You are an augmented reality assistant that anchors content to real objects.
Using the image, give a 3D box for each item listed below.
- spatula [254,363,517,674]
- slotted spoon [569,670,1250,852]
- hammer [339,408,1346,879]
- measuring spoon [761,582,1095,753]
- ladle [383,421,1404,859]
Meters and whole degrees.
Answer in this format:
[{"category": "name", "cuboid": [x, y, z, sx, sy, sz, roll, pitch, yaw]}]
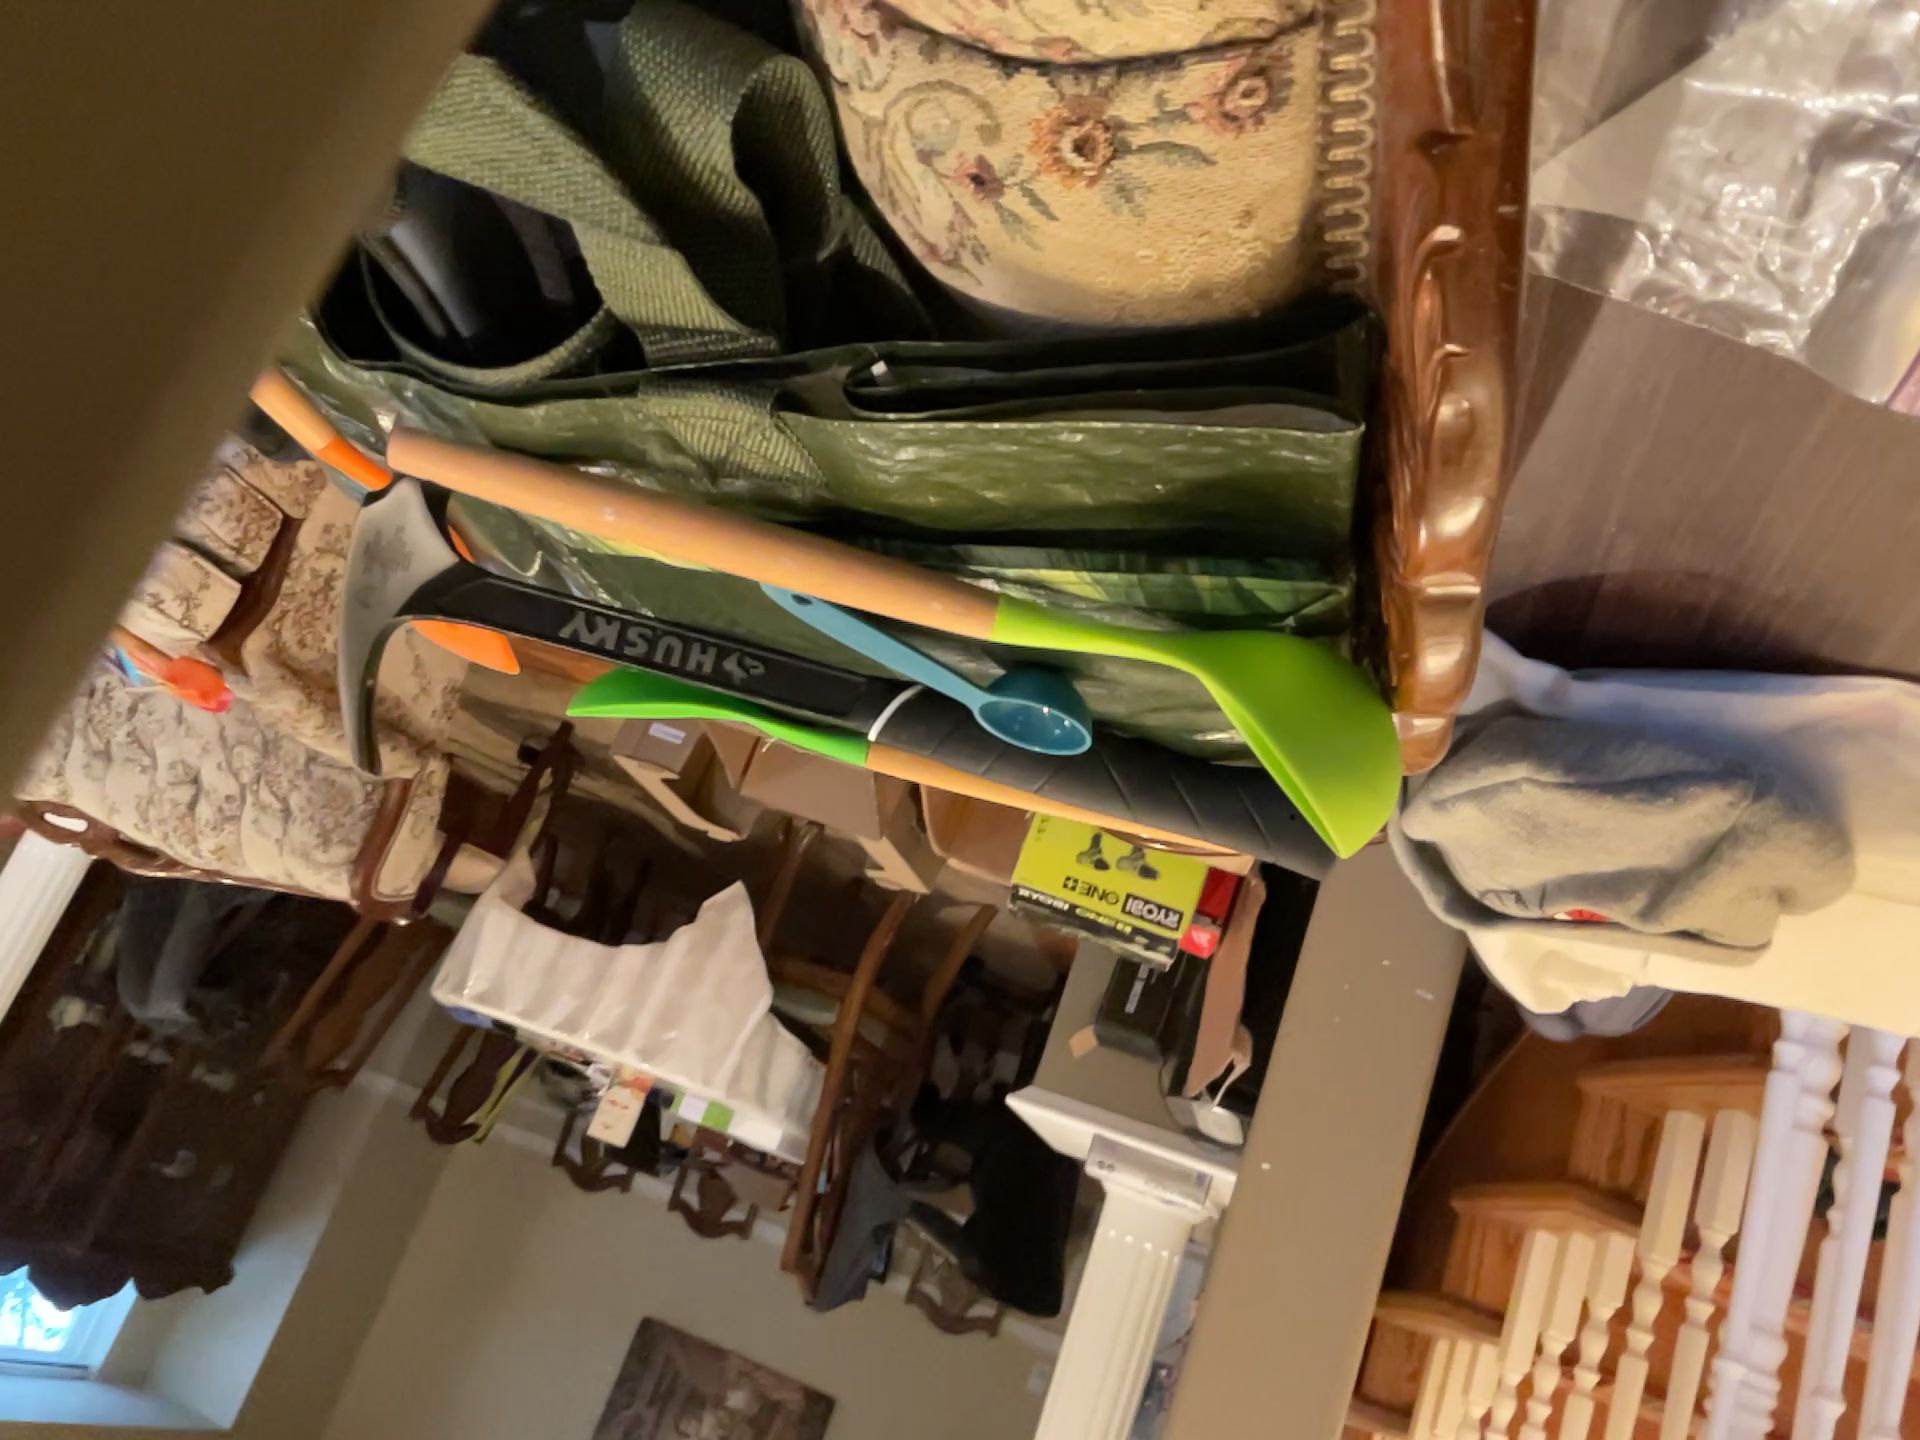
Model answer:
[{"category": "spatula", "cuboid": [-0.288, -0.125, 0.663, 0.081, 0.041, 0.322, 19, 159, 31]}, {"category": "slotted spoon", "cuboid": [-0.015, 0.019, 0.700, 0.314, 0.031, 0.070, 12, 176, -1]}, {"category": "hammer", "cuboid": [-0.043, -0.004, 0.626, 0.409, 0.149, 0.036, 15, 169, -2]}, {"category": "measuring spoon", "cuboid": [-0.008, -0.025, 0.535, 0.128, 0.021, 0.042, 28, 158, -20]}, {"category": "ladle", "cuboid": [-0.018, -0.028, 0.479, 0.320, 0.062, 0.078, 16, -174, -3]}]
